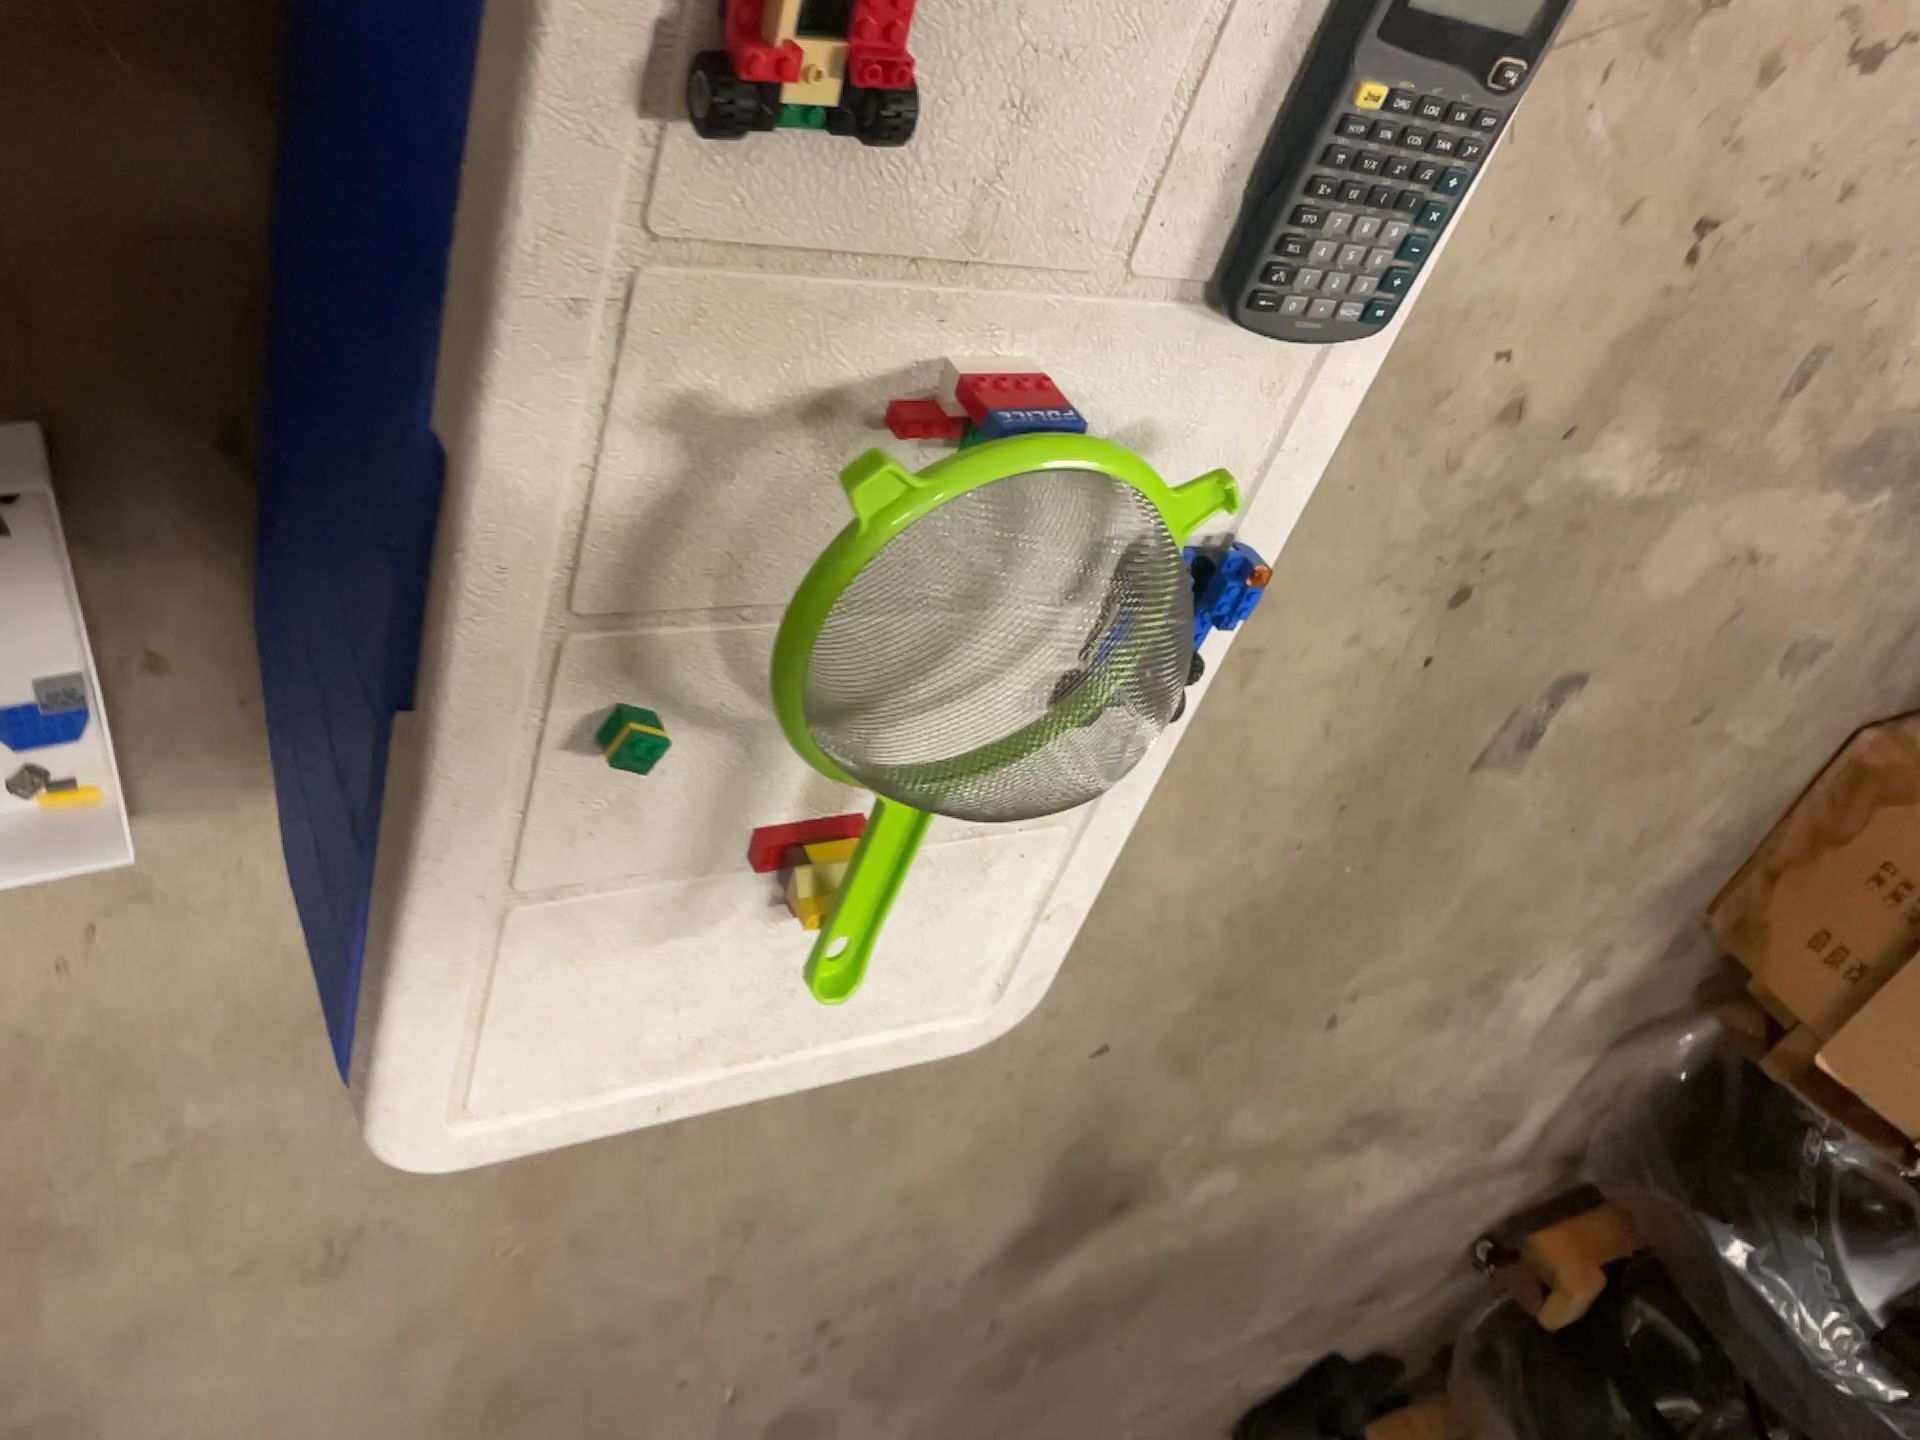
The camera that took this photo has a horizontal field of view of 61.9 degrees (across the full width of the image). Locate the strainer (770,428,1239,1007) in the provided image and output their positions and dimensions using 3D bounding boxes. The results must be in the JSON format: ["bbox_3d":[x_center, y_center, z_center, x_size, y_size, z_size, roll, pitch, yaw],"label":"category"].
[{"bbox_3d":[0.002,0.026,0.544,0.151,0.069,0.256,-4,133,-35],"label":"strainer"}]
